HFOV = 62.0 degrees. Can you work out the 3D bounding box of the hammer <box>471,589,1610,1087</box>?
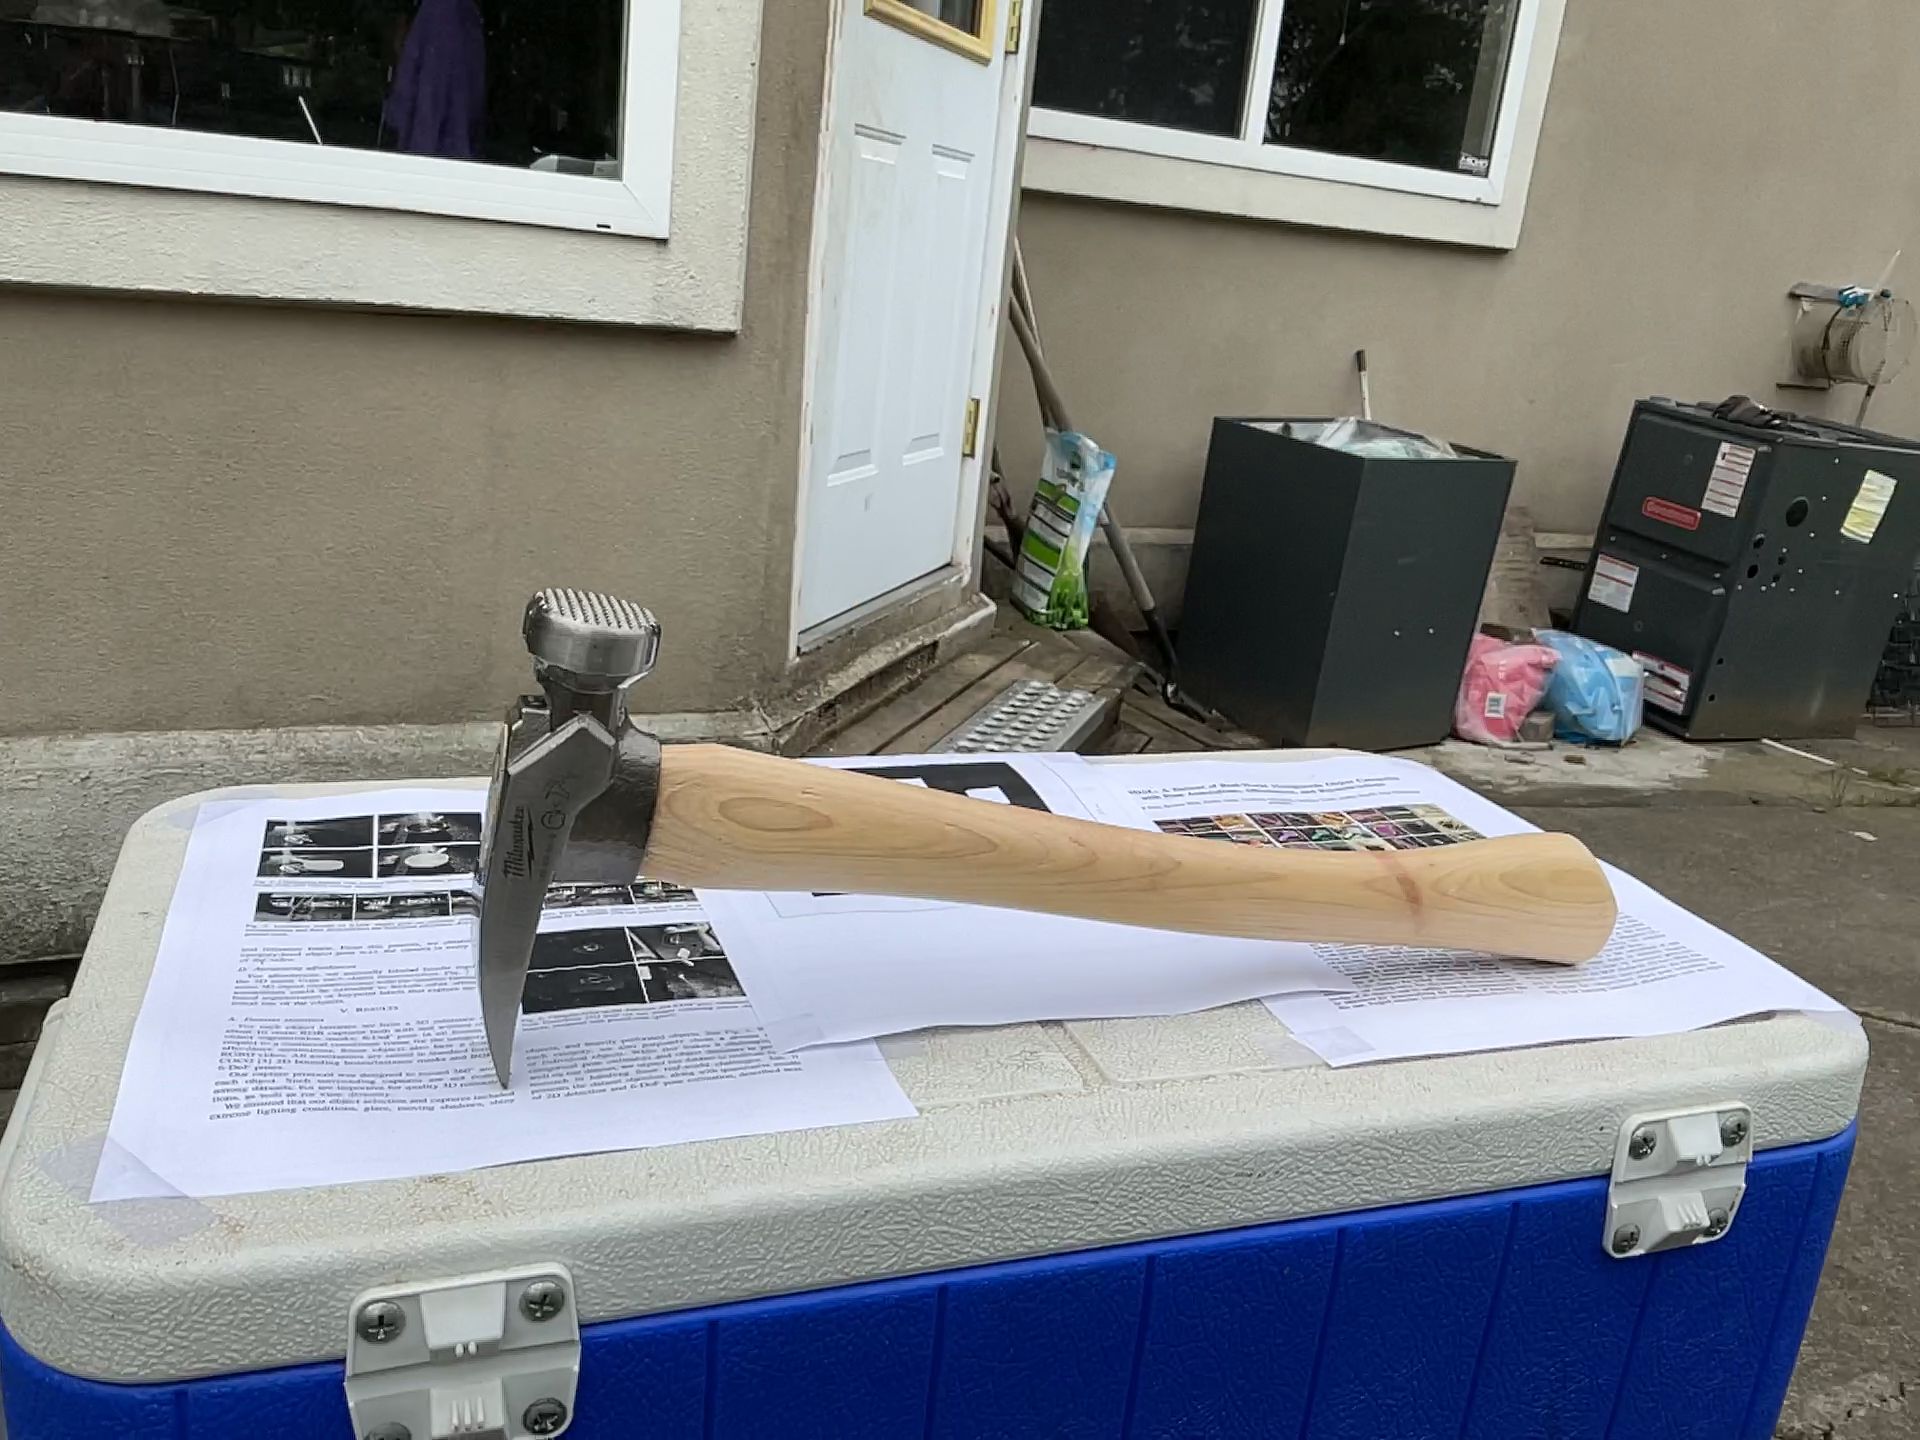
[{"bbox_3d":[0.049,0.061,0.541,0.410,0.146,0.038,9,15,-23],"label":"hammer"}]
